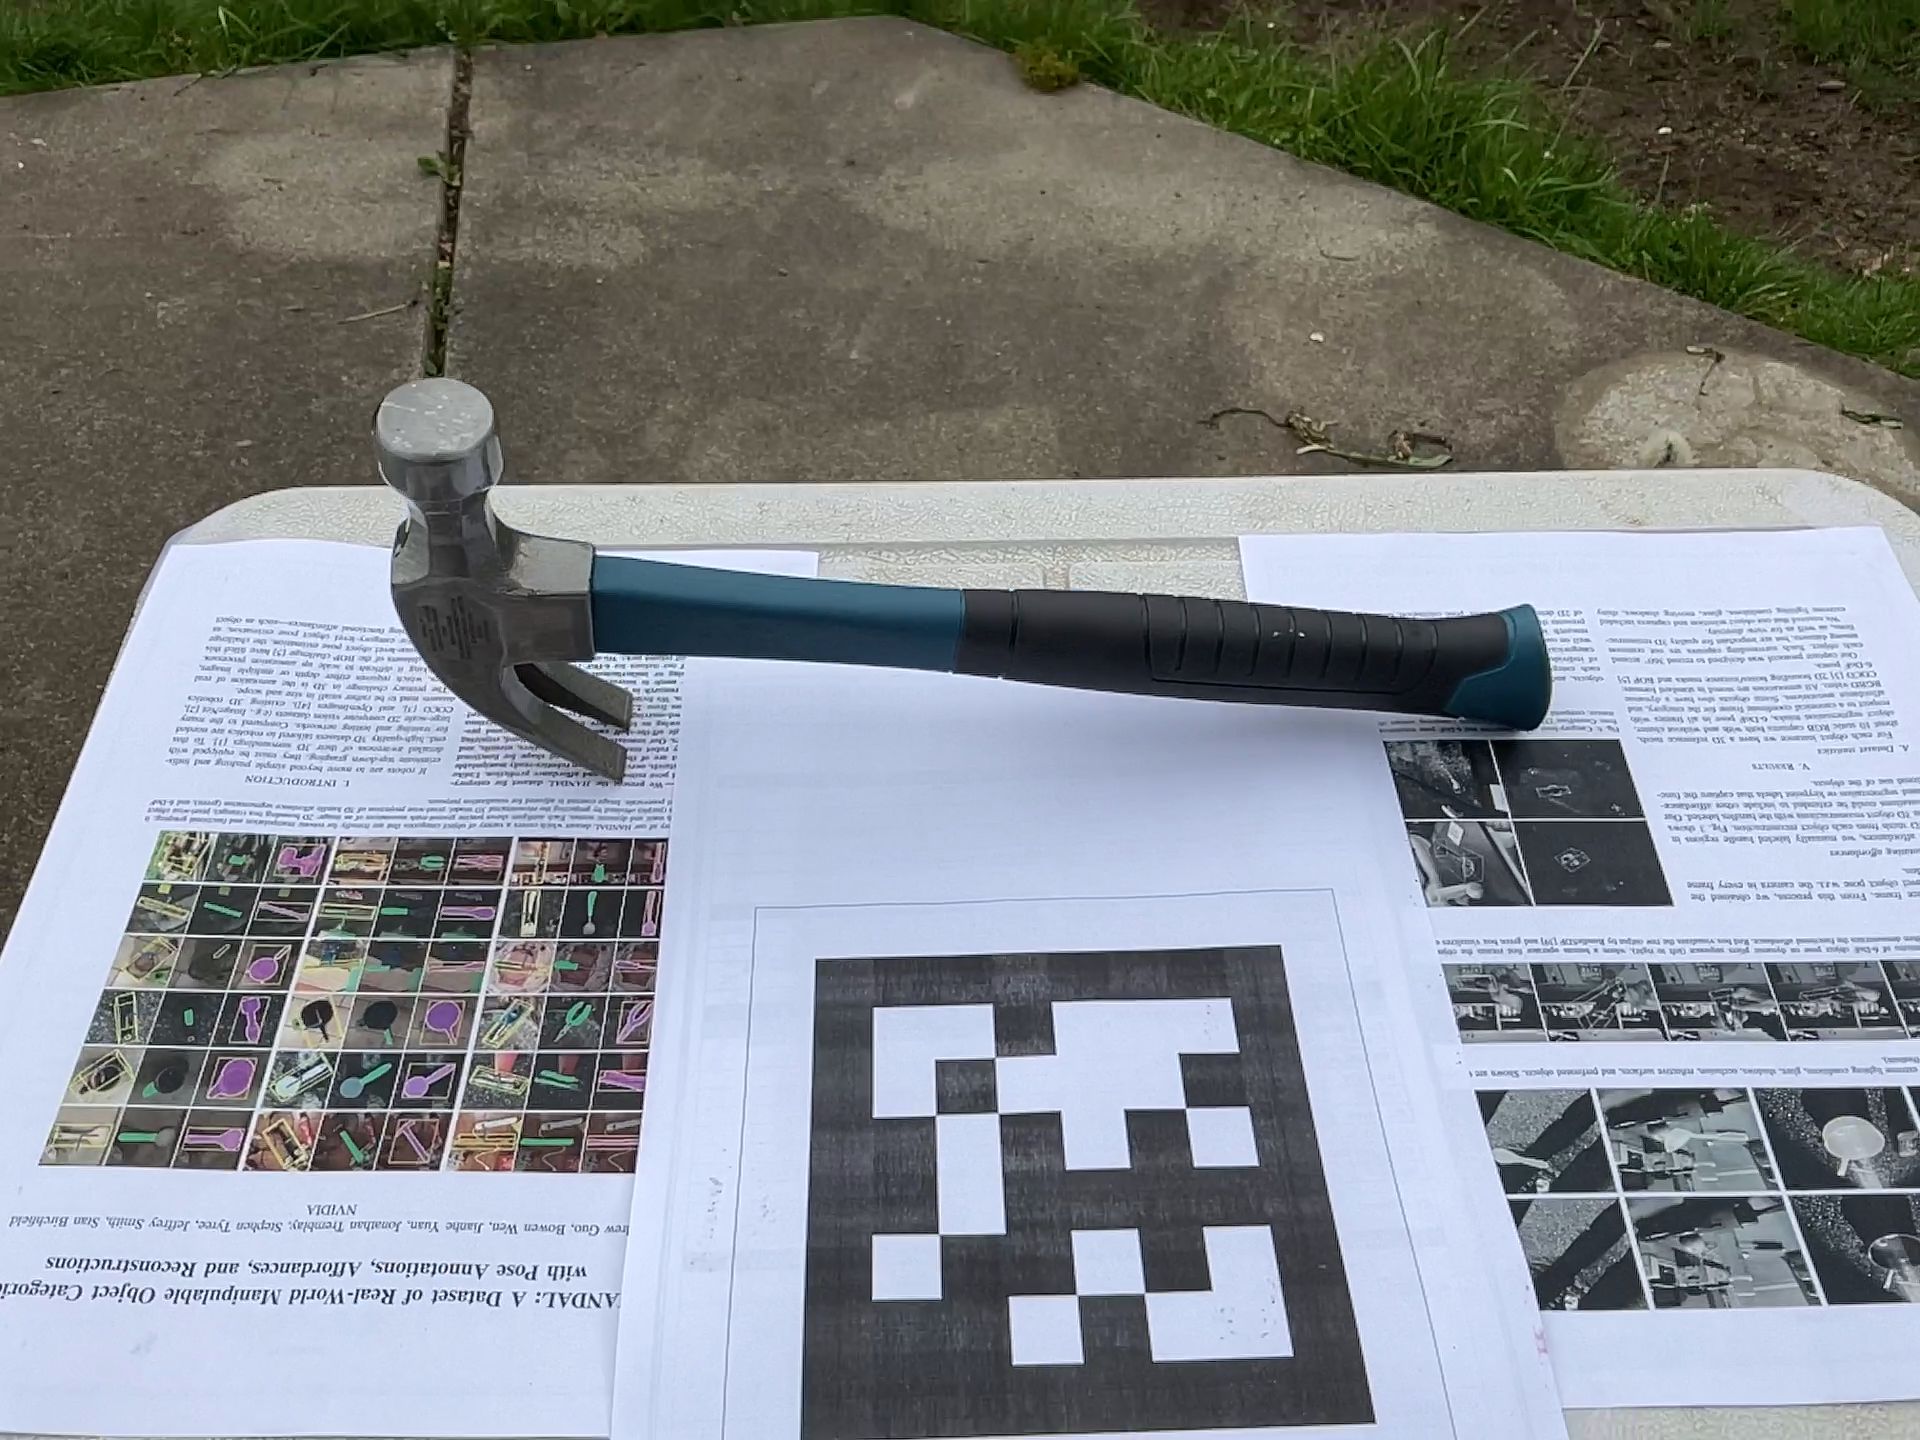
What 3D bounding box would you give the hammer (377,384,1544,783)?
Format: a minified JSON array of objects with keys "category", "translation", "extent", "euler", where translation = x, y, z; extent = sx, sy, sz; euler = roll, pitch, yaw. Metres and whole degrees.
[{"category":"hammer","translation":[0.012,-0.025,0.458],"extent":[0.331,0.128,0.033],"euler":[4,53,-8]}]
